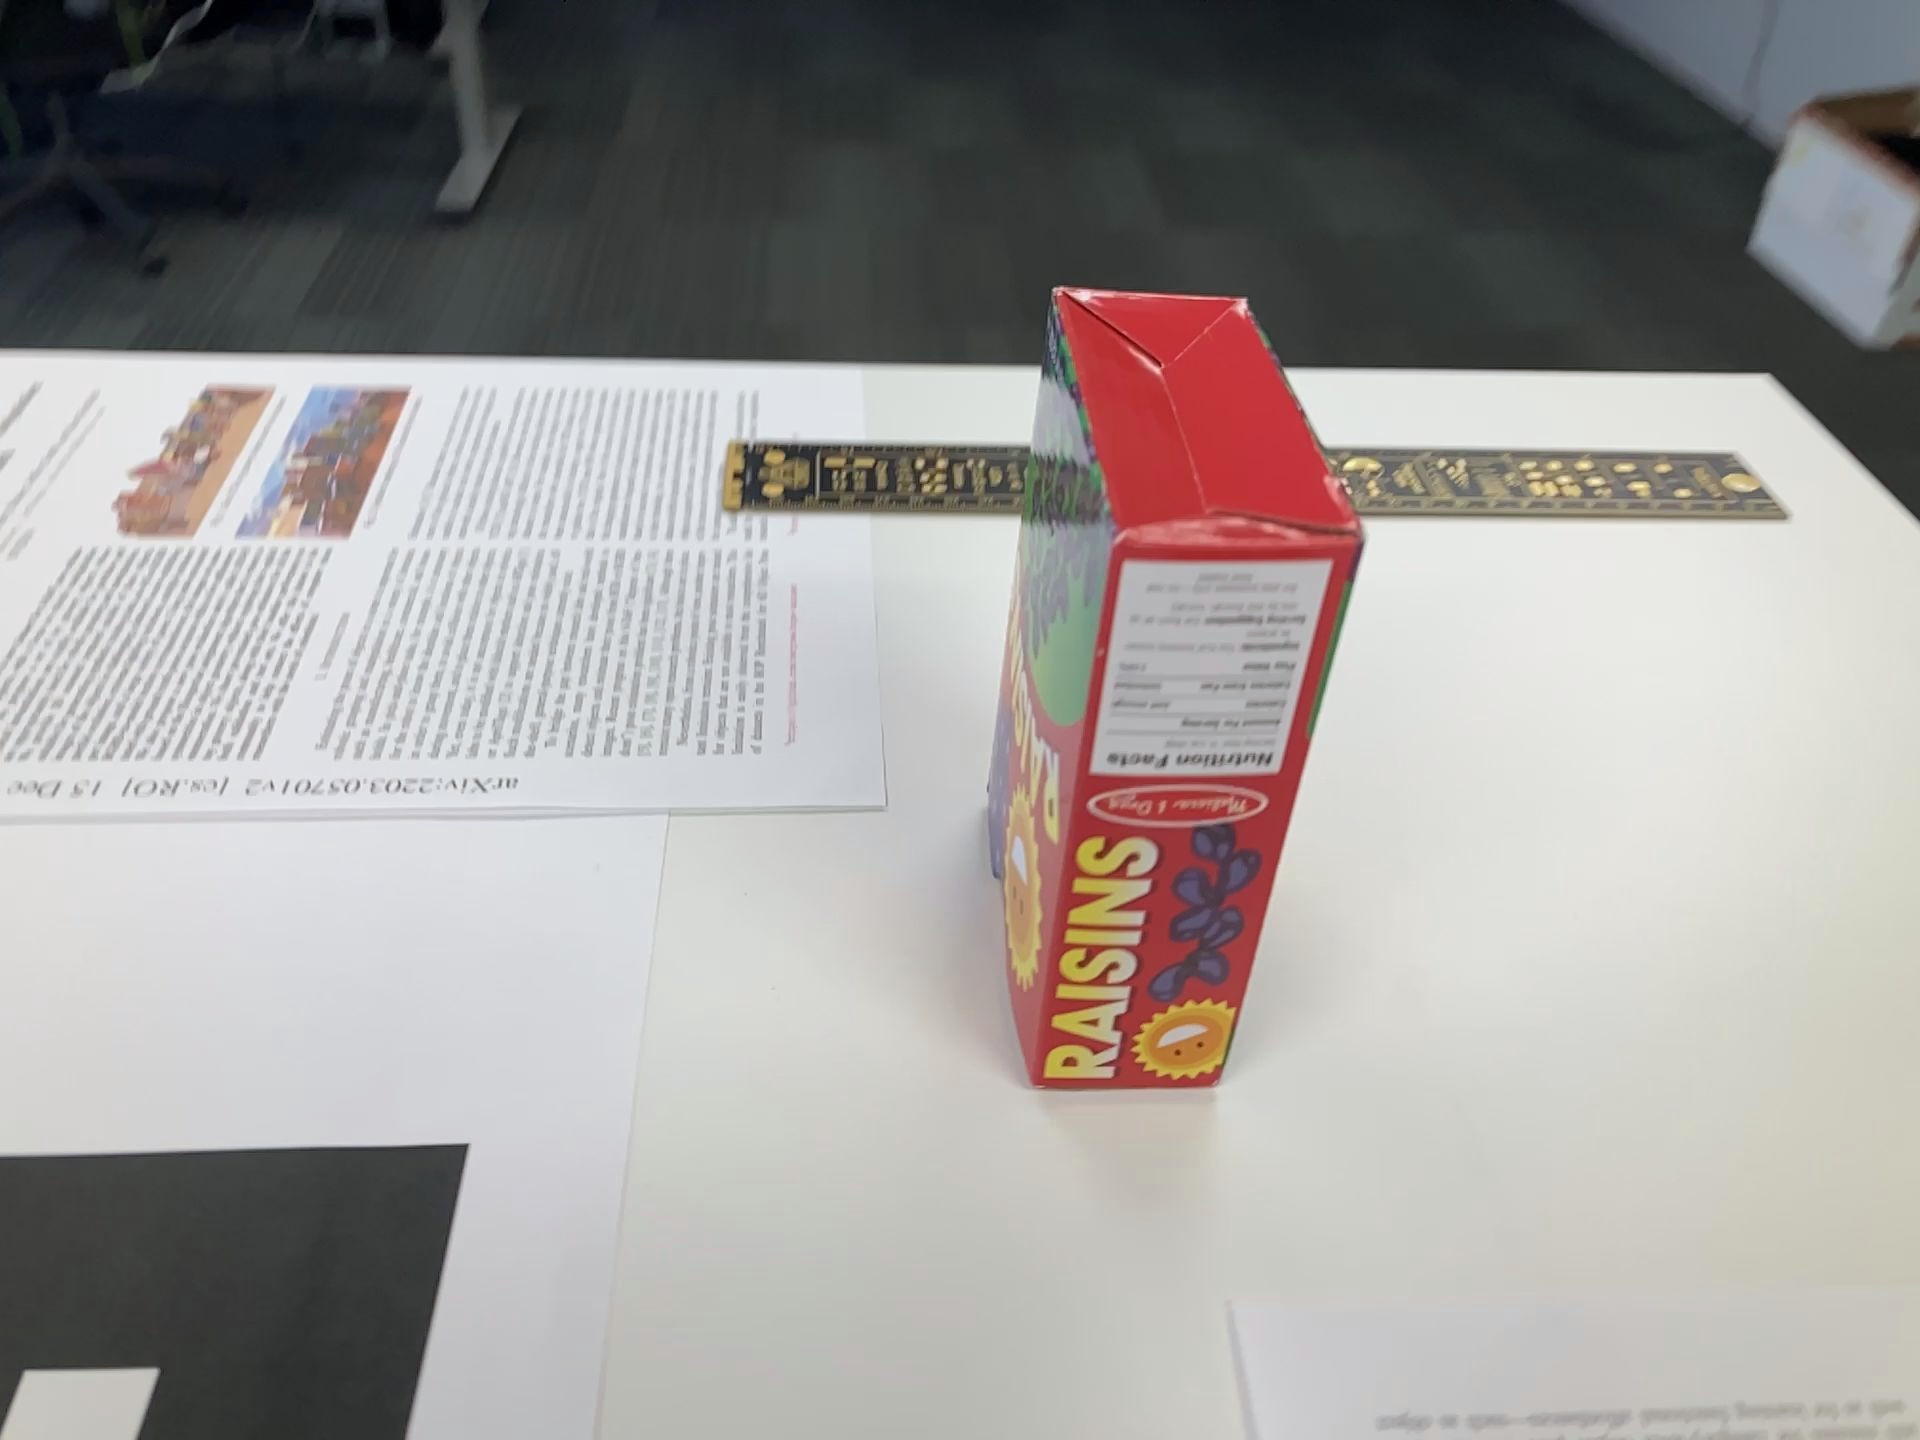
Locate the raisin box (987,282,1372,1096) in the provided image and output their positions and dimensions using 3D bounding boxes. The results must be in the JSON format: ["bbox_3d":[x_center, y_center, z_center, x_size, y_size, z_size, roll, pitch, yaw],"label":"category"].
[{"bbox_3d":[0.032,-0.004,0.291,0.040,0.123,0.086,0,39,-6],"label":"raisin box"}]
